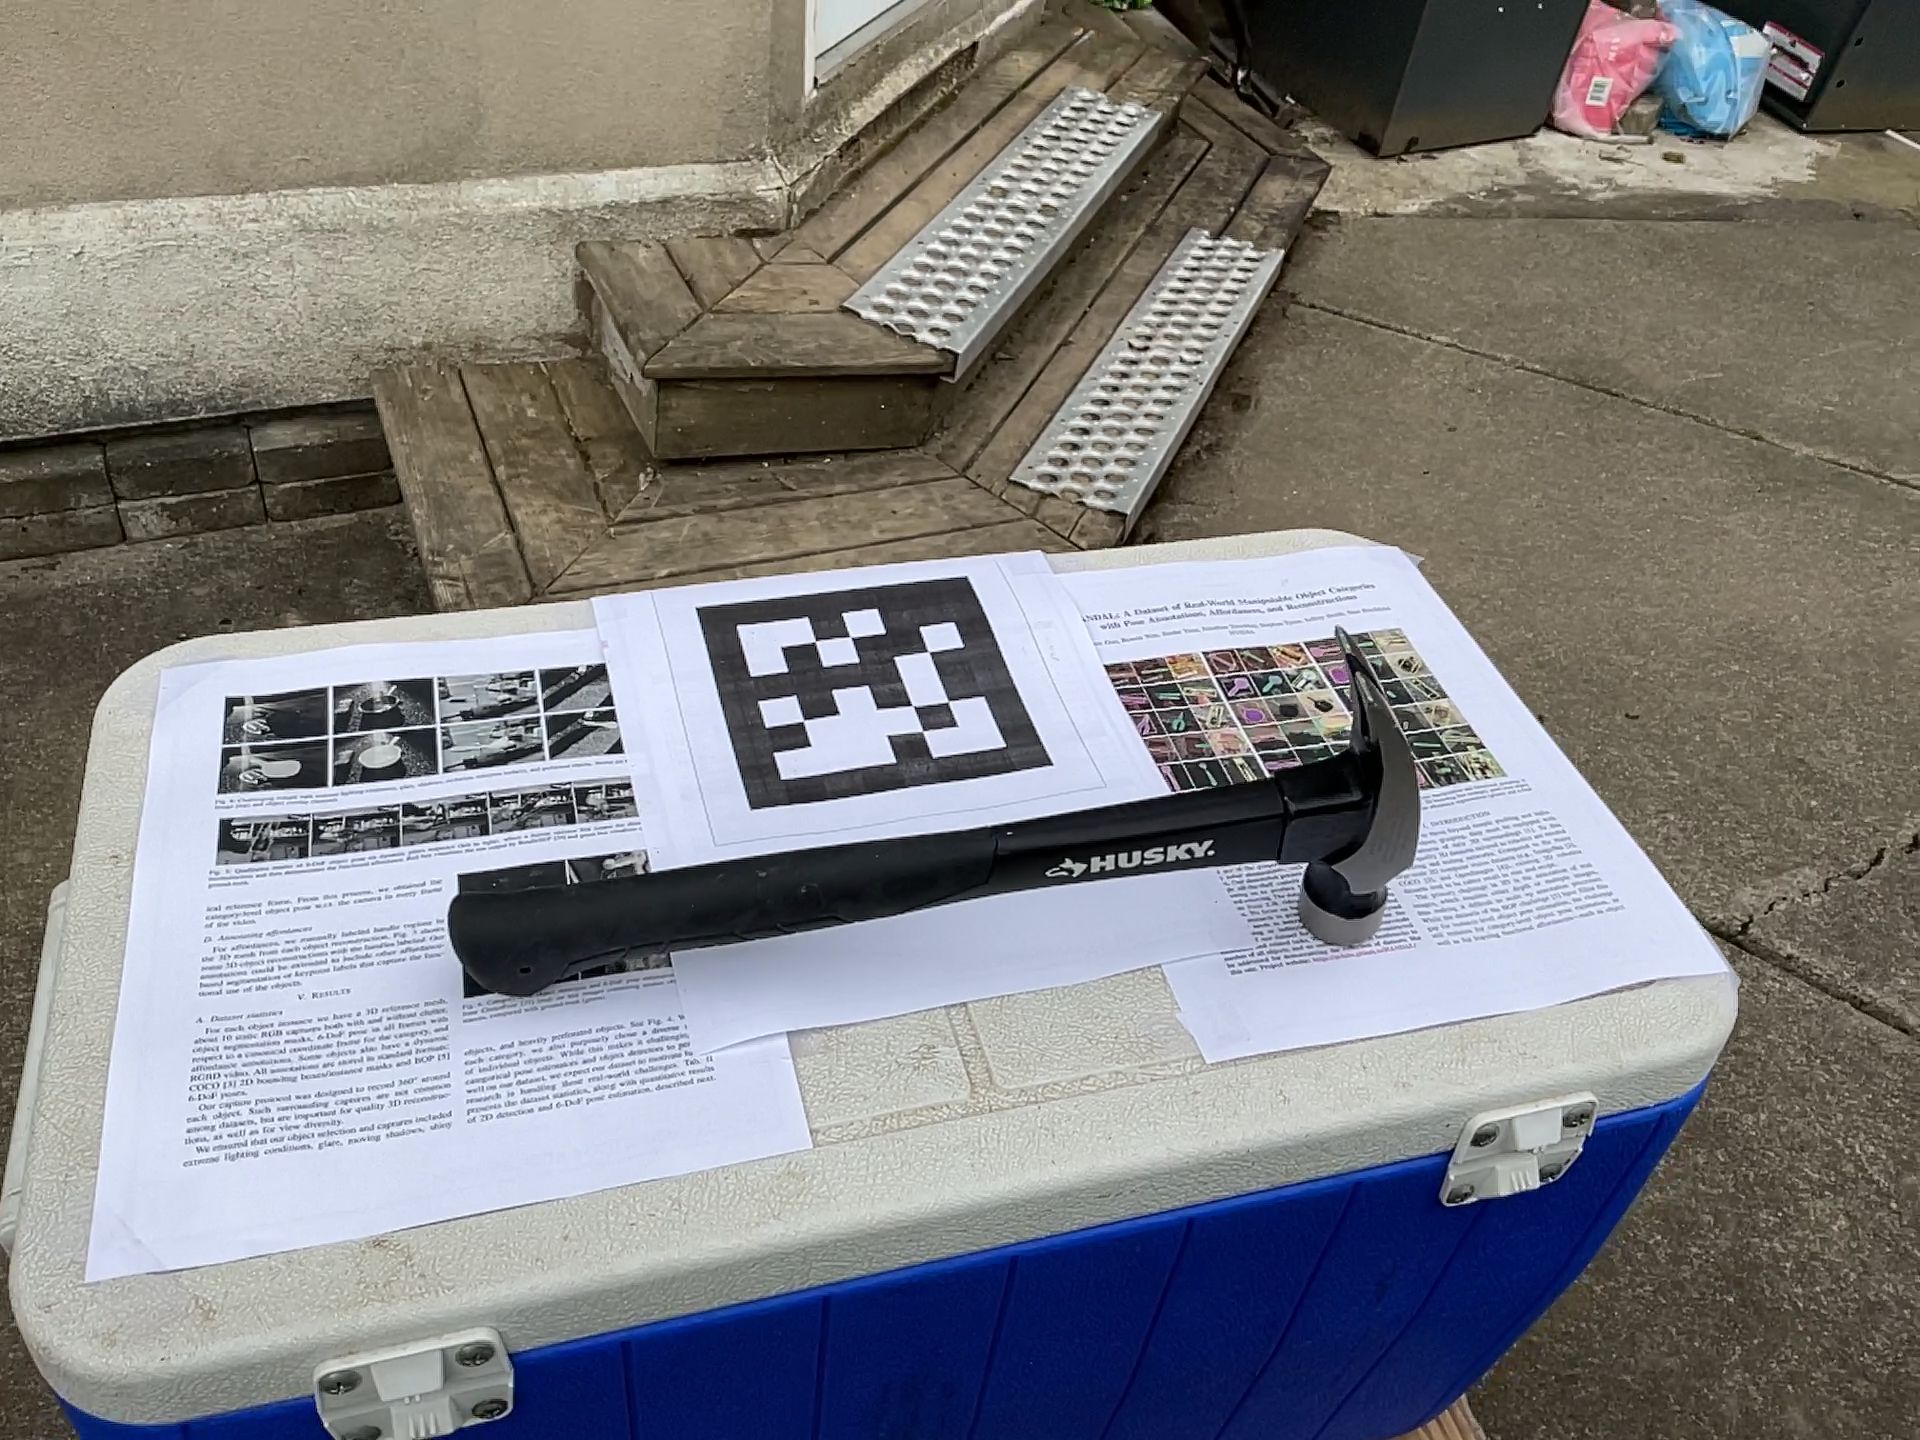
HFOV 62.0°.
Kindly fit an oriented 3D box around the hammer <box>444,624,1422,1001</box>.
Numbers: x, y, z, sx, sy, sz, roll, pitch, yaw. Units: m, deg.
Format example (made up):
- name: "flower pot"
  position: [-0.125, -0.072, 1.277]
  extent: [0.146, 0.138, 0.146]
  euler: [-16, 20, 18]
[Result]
- name: "hammer"
  position: [-0.005, 0.049, 0.549]
  extent: [0.334, 0.146, 0.035]
  euler: [-8, 49, -4]
